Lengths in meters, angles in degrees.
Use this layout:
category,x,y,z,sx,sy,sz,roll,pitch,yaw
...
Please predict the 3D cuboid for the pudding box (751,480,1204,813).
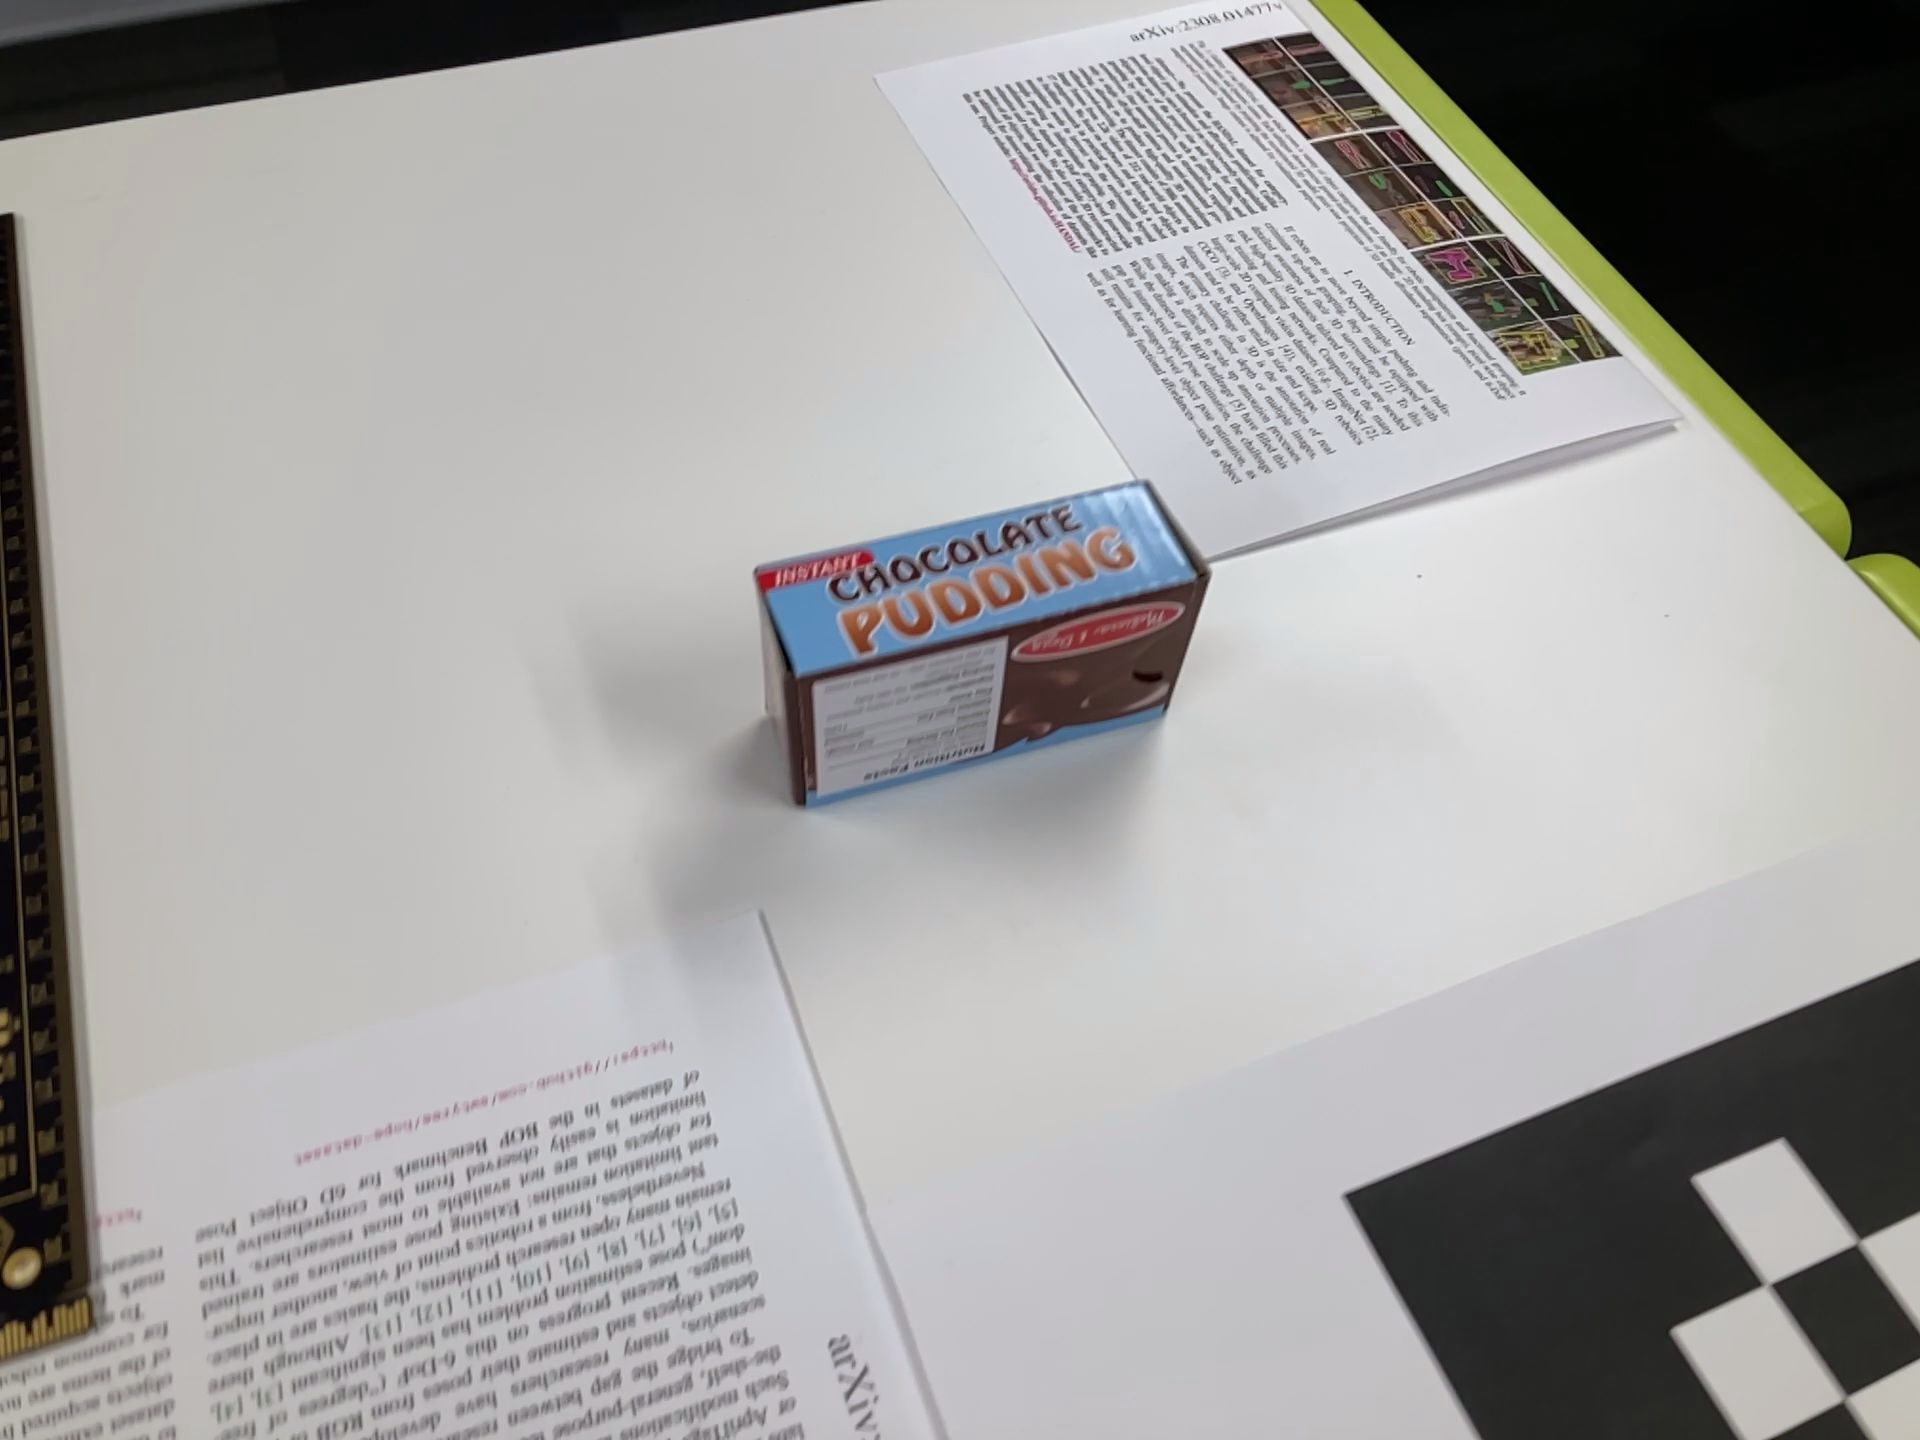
category,x,y,z,sx,sy,sz,roll,pitch,yaw
pudding box,0.002,-0.014,0.321,0.083,0.049,0.030,-15,57,-13
